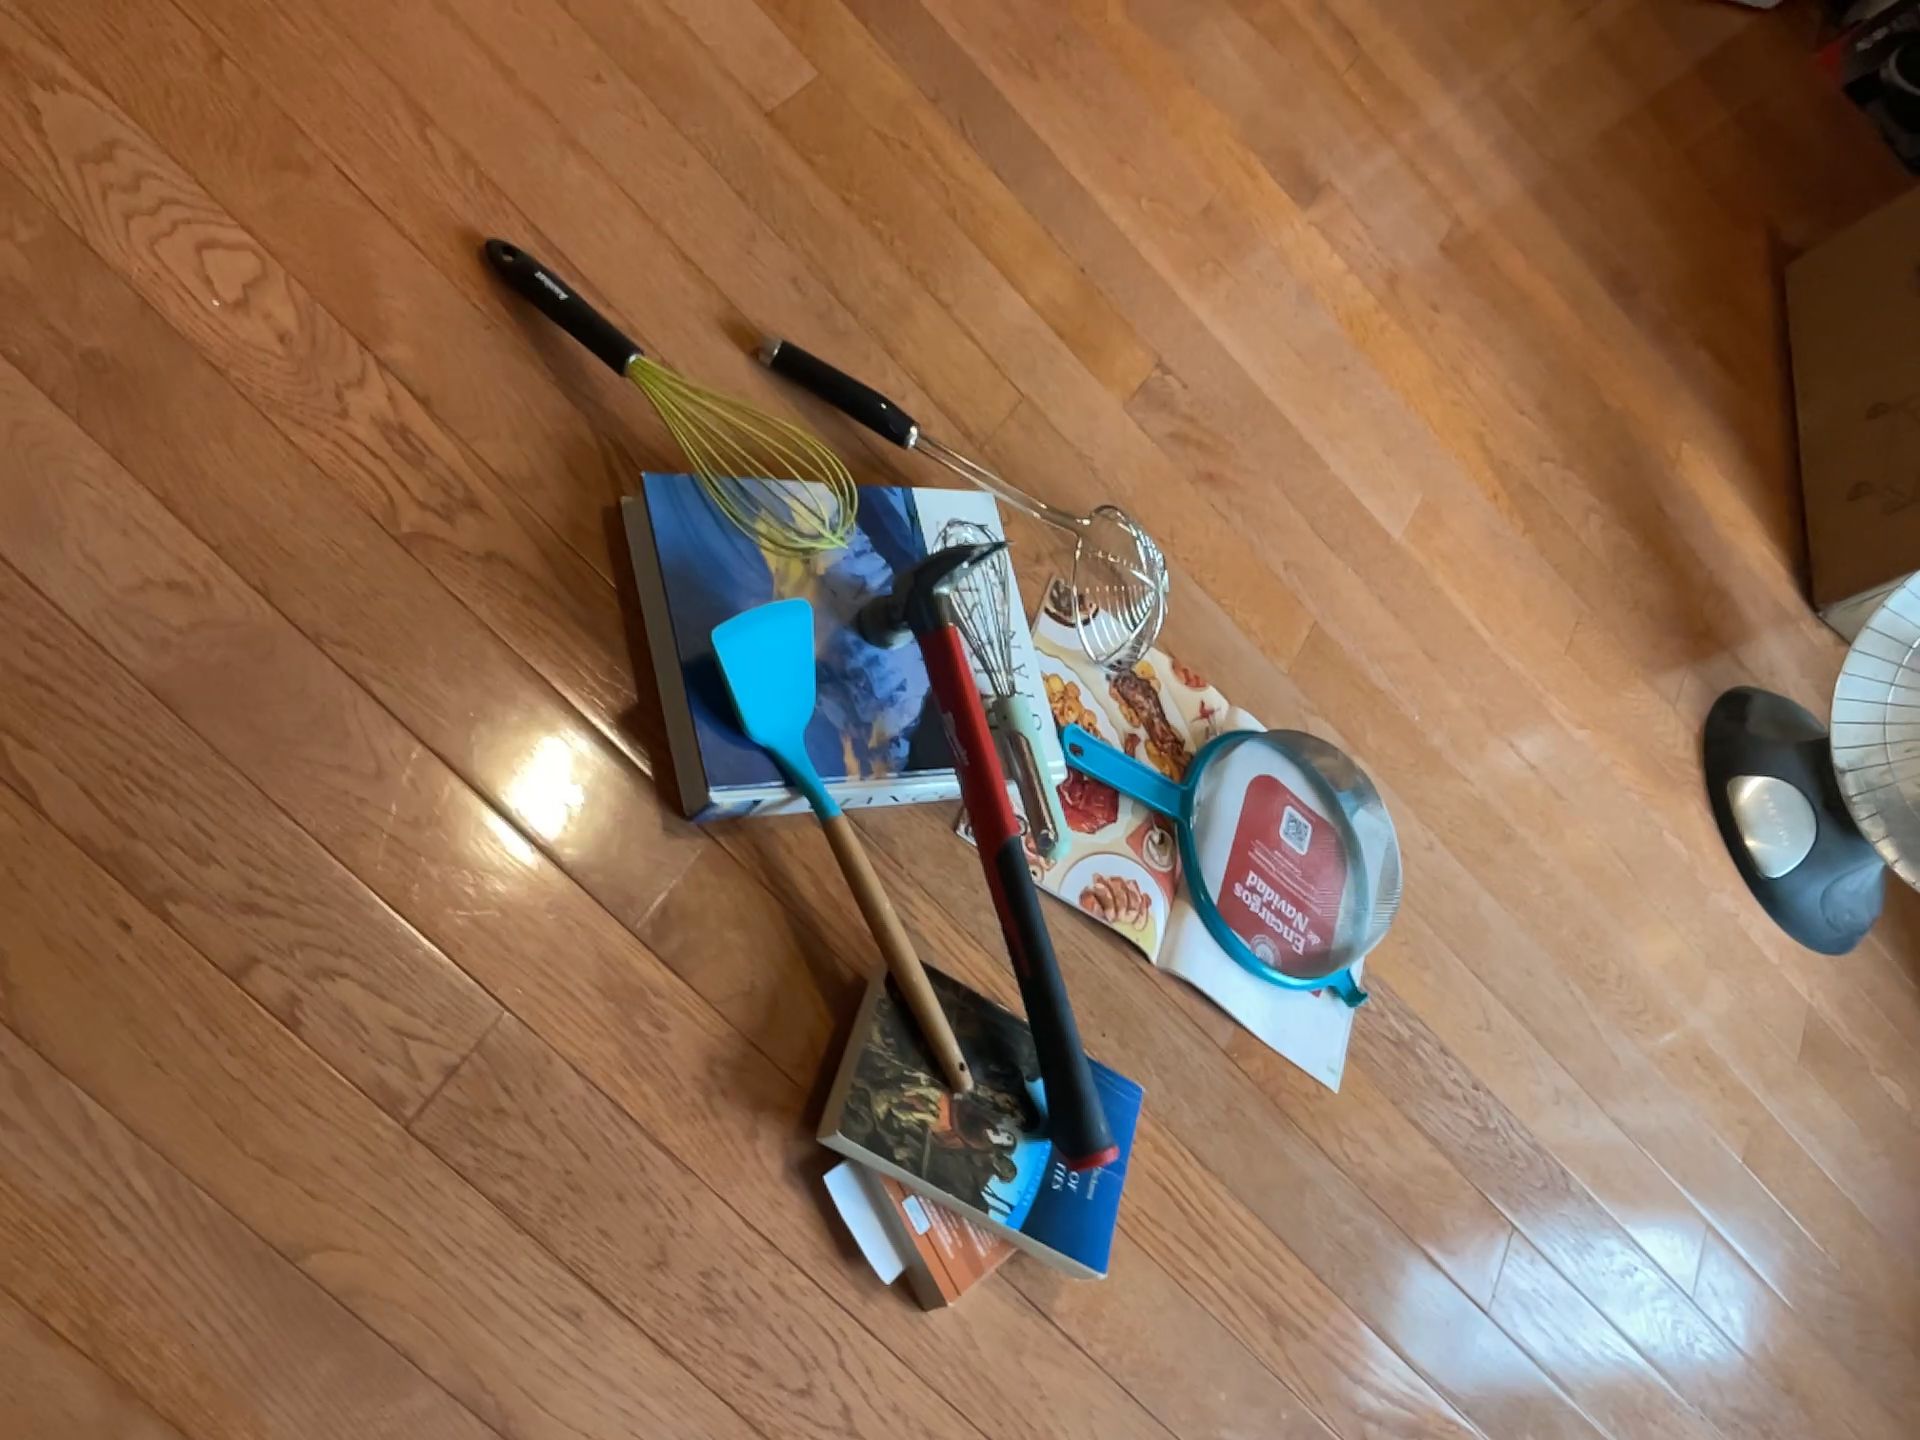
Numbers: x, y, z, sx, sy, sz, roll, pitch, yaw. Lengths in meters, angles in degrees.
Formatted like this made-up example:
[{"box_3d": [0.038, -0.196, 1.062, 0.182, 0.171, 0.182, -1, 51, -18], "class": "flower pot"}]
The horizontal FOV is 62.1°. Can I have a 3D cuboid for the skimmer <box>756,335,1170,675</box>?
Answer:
[{"box_3d": [0.004, -0.162, 1.181, 0.363, 0.090, 0.128, 29, 56, -10], "class": "skimmer"}]

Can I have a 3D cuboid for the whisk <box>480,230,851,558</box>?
[{"box_3d": [-0.191, -0.211, 1.018, 0.311, 0.067, 0.080, 41, 65, 4], "class": "whisk"}]

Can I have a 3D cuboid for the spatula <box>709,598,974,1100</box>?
[{"box_3d": [-0.062, 0.082, 0.961, 0.082, 0.044, 0.317, -23, 84, -42], "class": "spatula"}]

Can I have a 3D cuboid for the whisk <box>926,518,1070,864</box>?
[{"box_3d": [0.029, -0.021, 1.081, 0.059, 0.057, 0.246, -1, 72, -70], "class": "whisk"}]

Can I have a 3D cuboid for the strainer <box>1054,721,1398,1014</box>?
[{"box_3d": [0.220, 0.071, 1.178, 0.340, 0.095, 0.211, 30, 55, -31], "class": "strainer"}]

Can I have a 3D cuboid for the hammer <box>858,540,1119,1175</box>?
[{"box_3d": [0.035, 0.083, 0.980, 0.038, 0.143, 0.386, -11, 79, -36], "class": "hammer"}]
